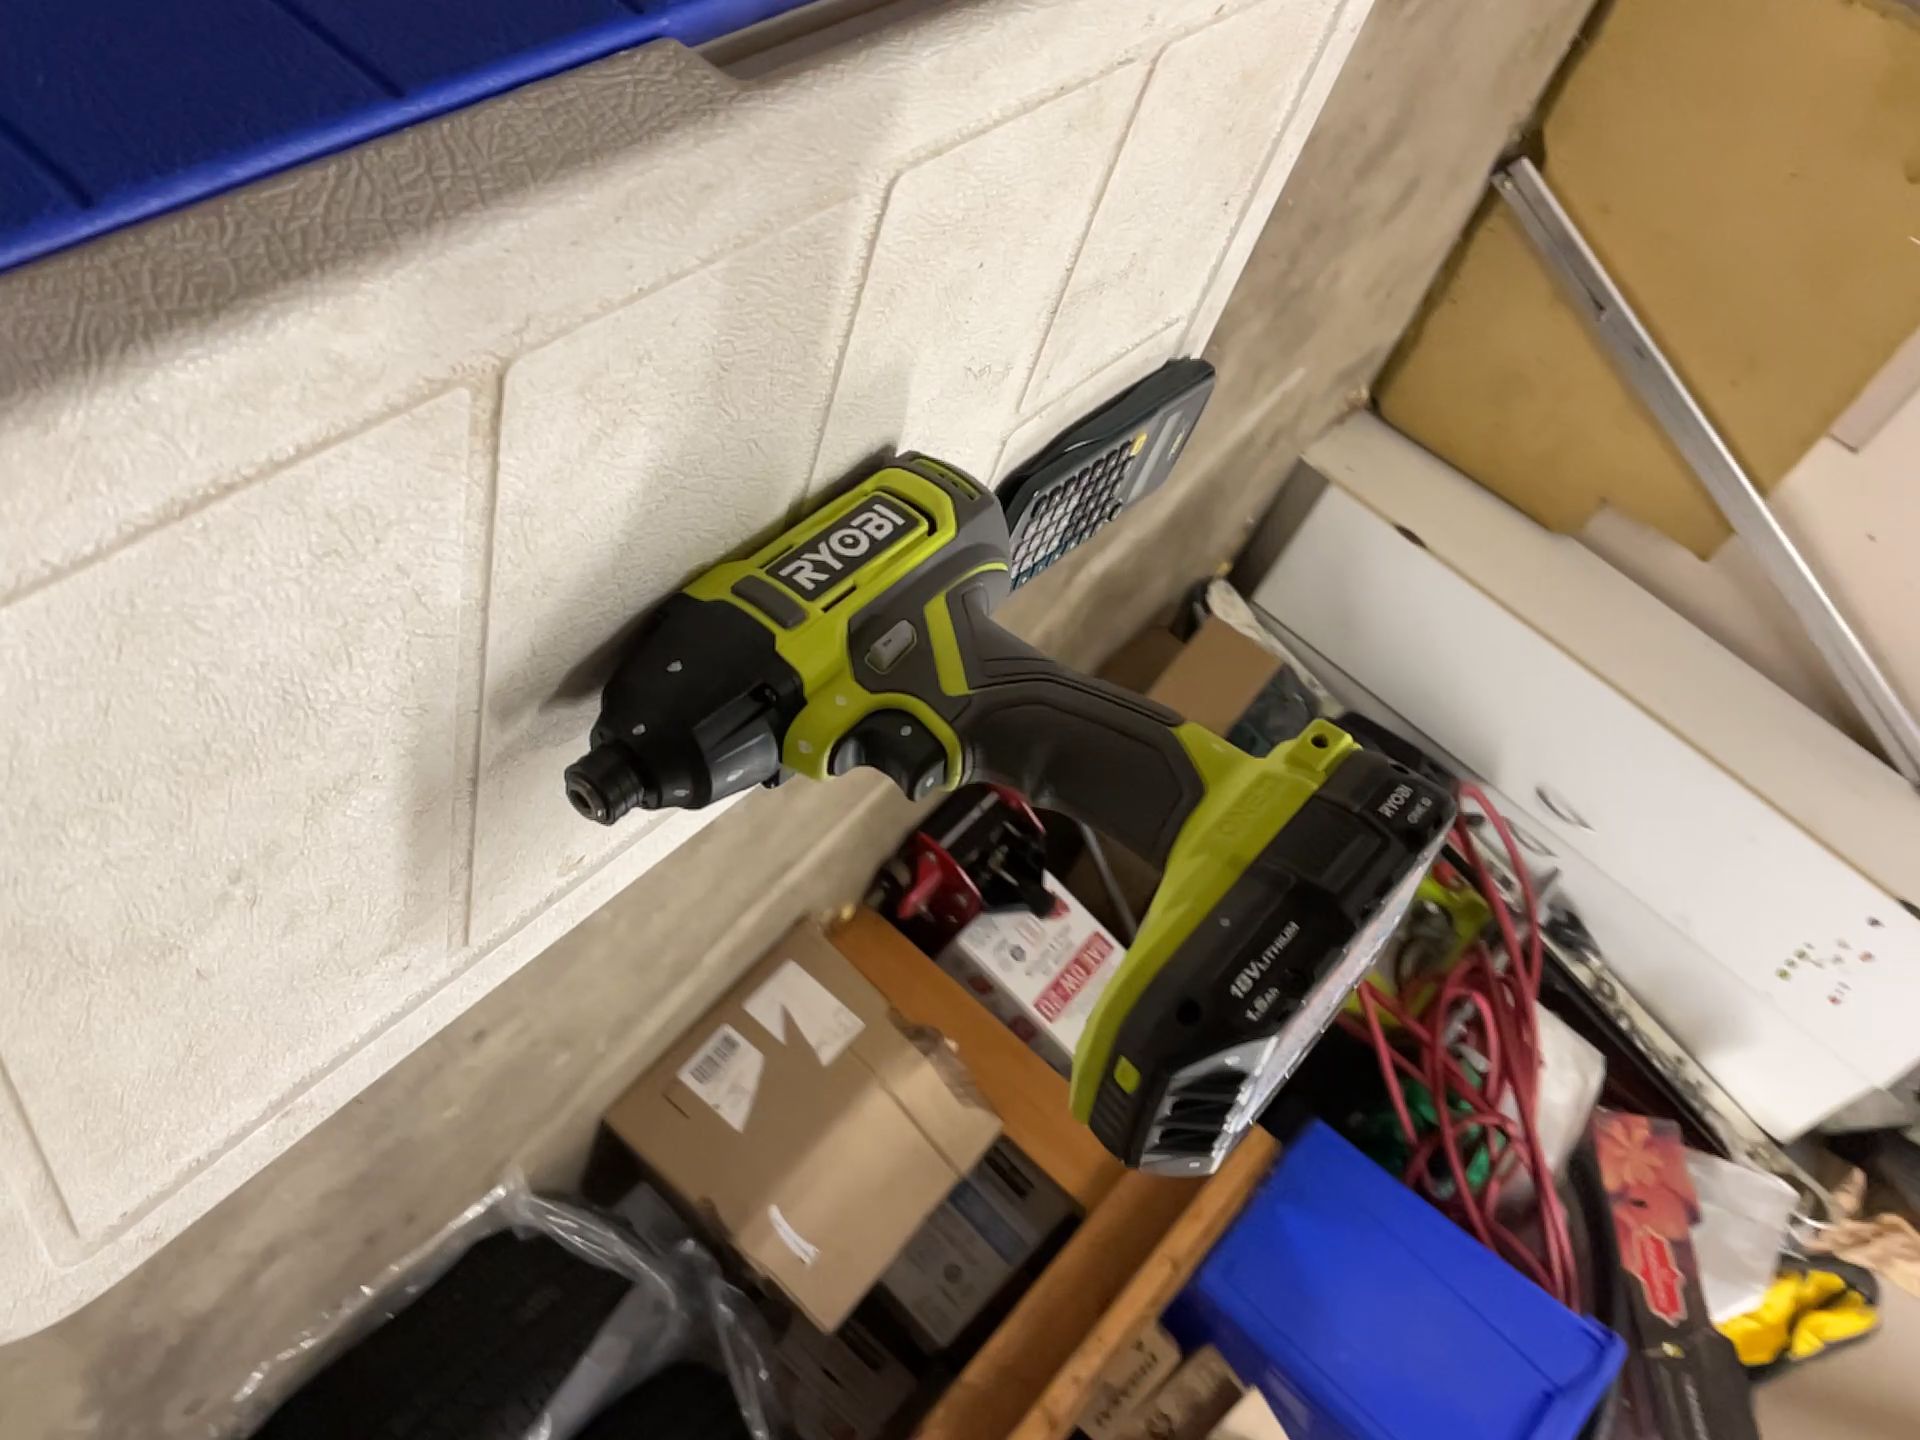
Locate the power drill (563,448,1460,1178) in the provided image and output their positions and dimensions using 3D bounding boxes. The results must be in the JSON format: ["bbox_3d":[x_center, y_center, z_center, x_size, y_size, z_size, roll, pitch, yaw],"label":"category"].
[{"bbox_3d":[0.011,0.021,0.467,0.171,0.223,0.080,-41,154,-35],"label":"power drill"}]
